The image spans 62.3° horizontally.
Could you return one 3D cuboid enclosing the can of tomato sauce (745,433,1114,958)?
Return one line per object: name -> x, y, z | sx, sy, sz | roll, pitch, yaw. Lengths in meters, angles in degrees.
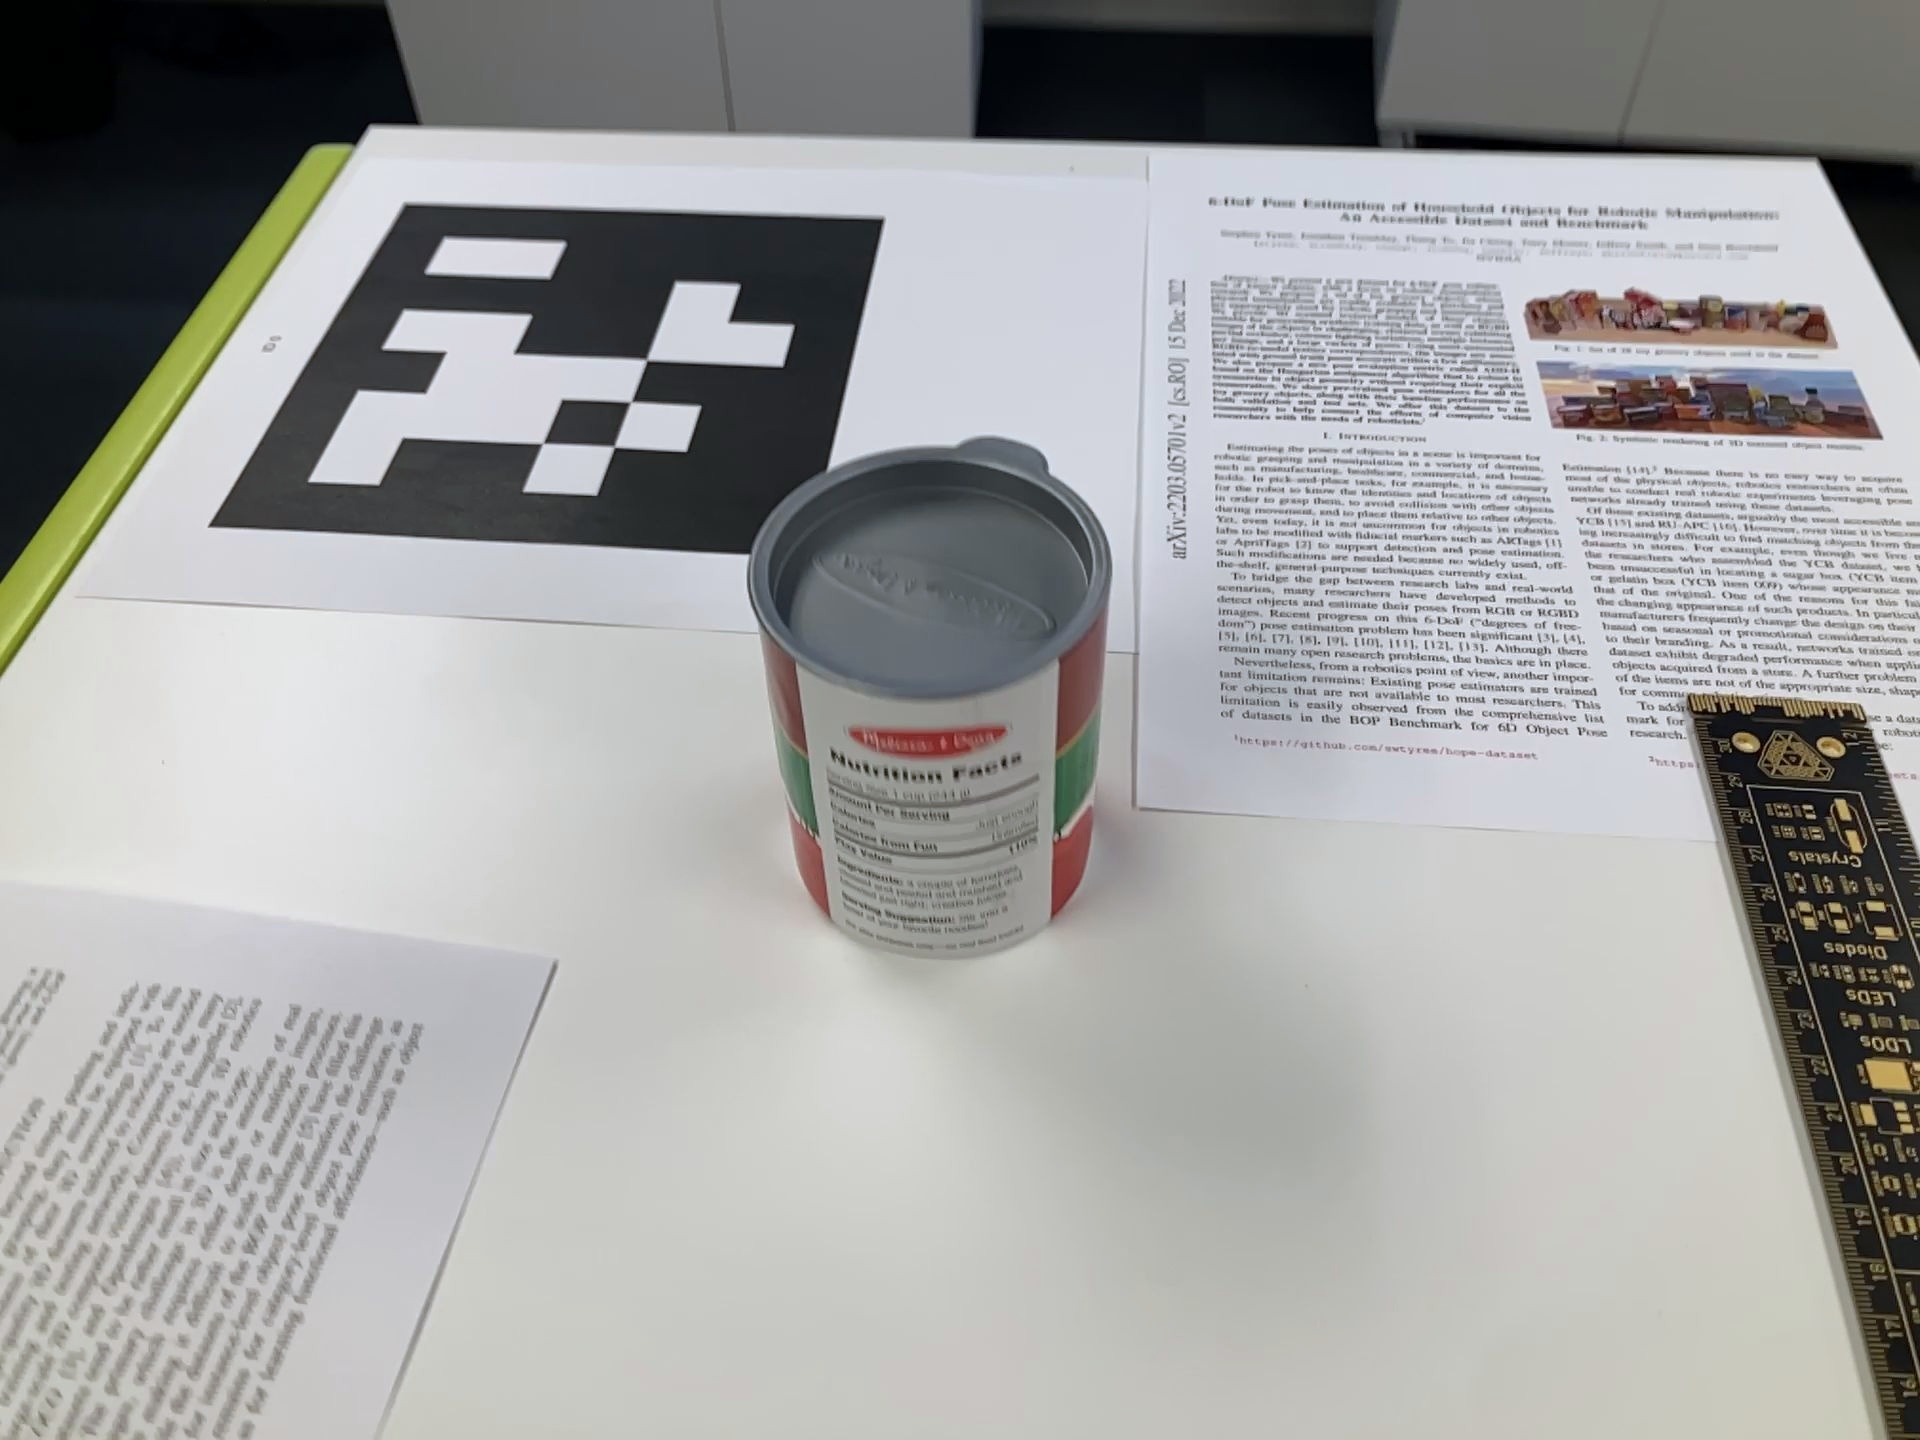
can of tomato sauce -> -0.005, -0.004, 0.319 | 0.071, 0.083, 0.071 | -1, 49, 1
